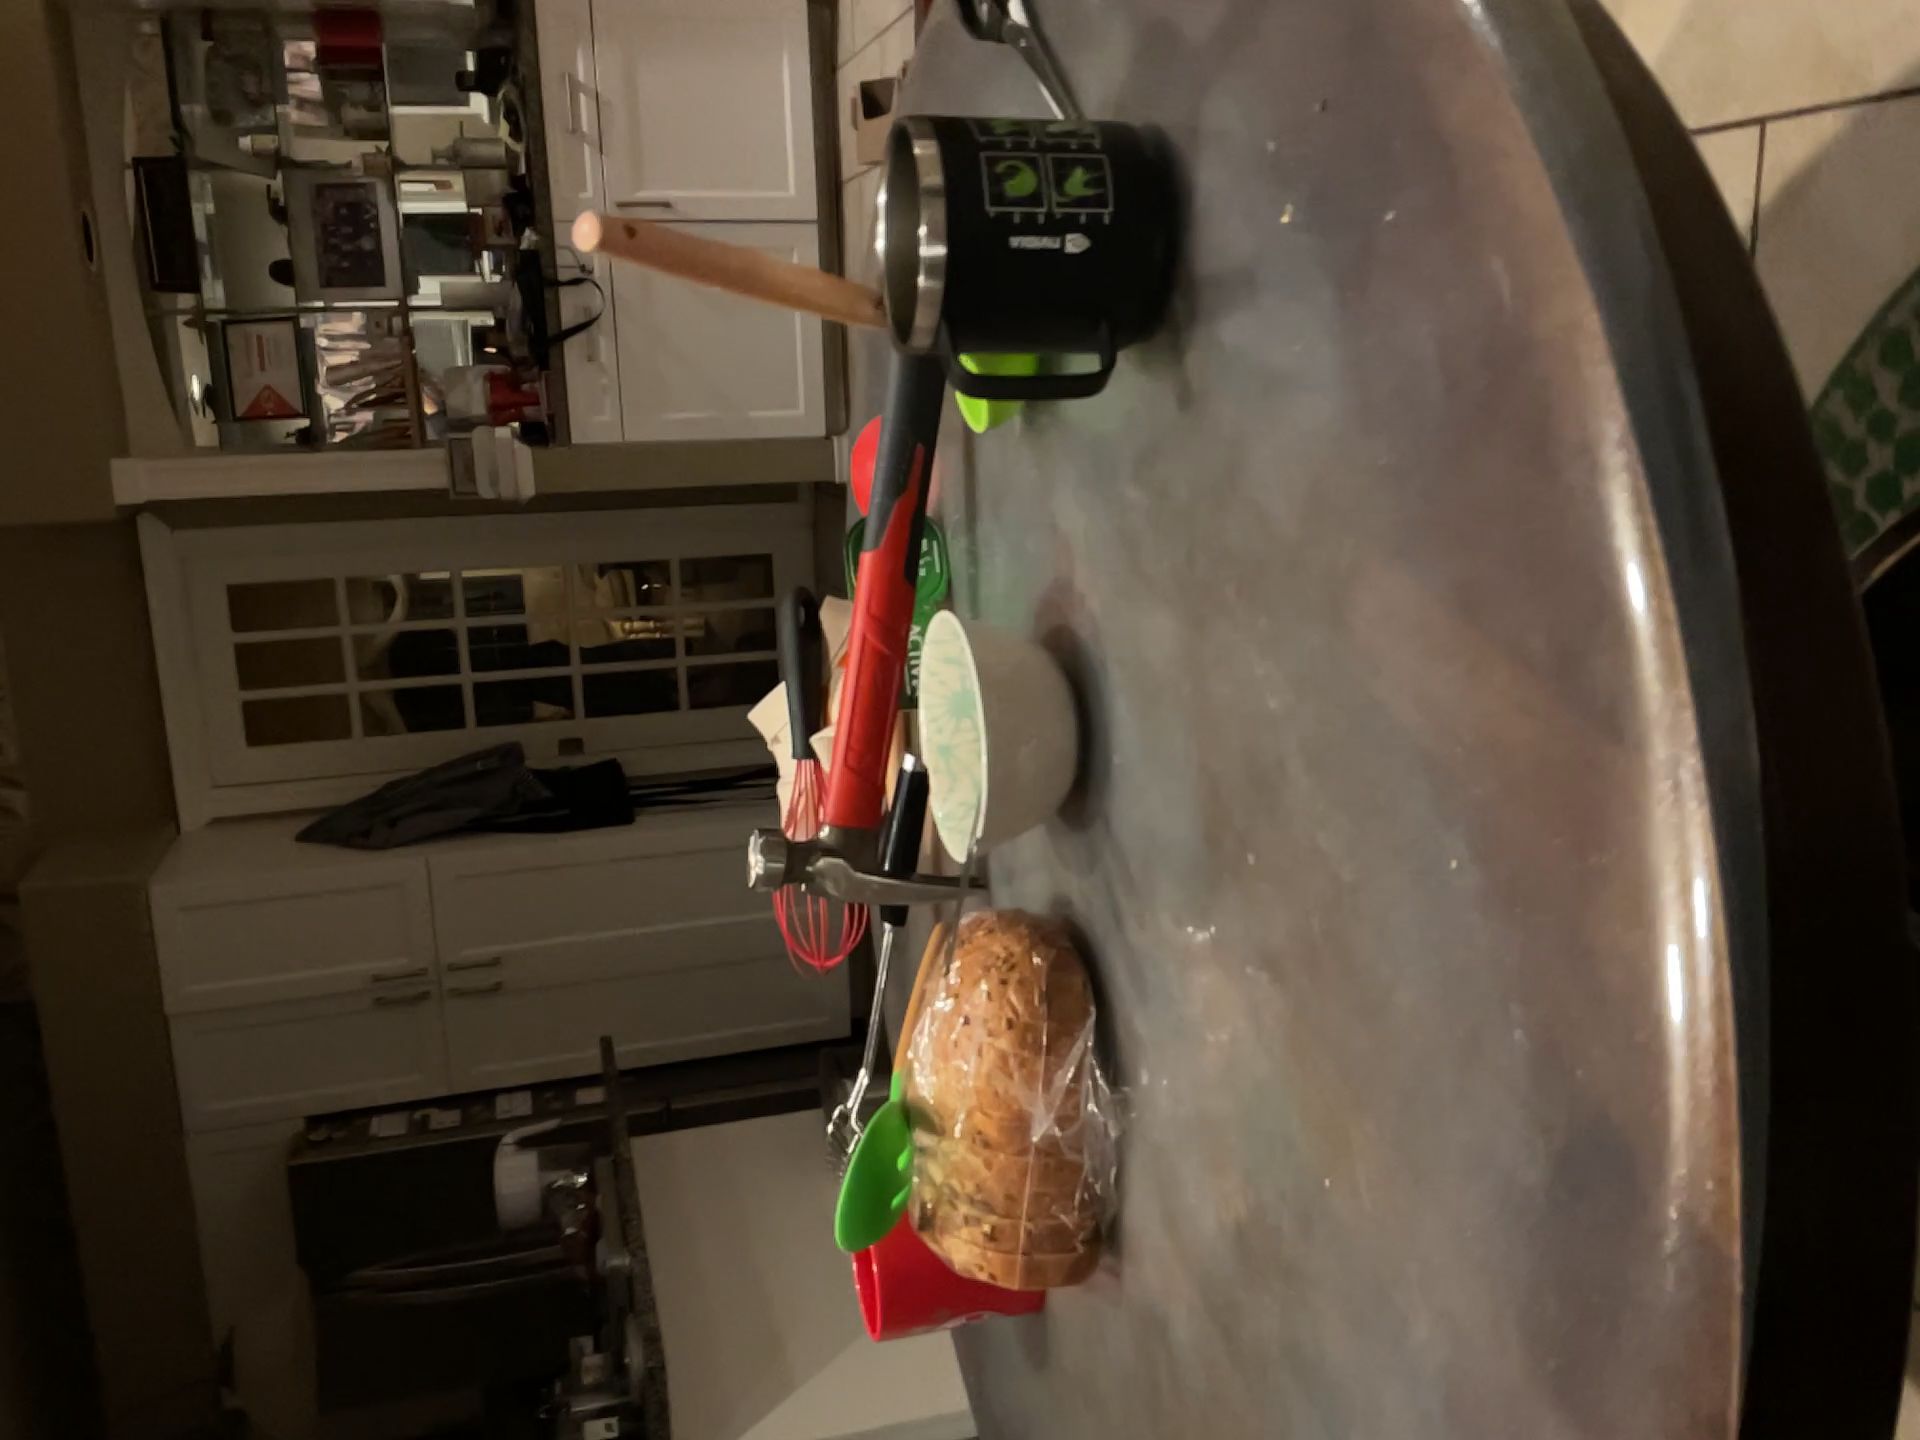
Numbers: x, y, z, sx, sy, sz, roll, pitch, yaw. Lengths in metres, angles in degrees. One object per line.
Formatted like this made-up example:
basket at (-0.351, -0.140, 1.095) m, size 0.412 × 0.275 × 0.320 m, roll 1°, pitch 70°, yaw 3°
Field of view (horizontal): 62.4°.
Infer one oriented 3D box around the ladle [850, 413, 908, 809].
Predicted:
ladle at (-0.051, -0.056, 1.106) m, size 0.069 × 0.031 × 0.315 m, roll -148°, pitch 52°, yaw -72°

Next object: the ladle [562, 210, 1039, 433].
ladle at (-0.055, -0.170, 0.662) m, size 0.062 × 0.320 × 0.078 m, roll -21°, pitch 84°, yaw 30°

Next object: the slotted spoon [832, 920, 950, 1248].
slotted spoon at (-0.027, 0.187, 0.893) m, size 0.314 × 0.031 × 0.070 m, roll -70°, pitch -13°, yaw -70°

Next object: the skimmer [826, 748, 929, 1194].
skimmer at (-0.029, 0.196, 1.096) m, size 0.127 × 0.090 × 0.363 m, roll -145°, pitch 62°, yaw -61°

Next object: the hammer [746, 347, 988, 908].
hammer at (-0.026, -0.082, 0.912) m, size 0.038 × 0.143 × 0.386 m, roll -149°, pitch 67°, yaw -70°

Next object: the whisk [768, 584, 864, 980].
whisk at (-0.113, 0.047, 1.178) m, size 0.073 × 0.073 × 0.296 m, roll -165°, pitch 71°, yaw -76°
